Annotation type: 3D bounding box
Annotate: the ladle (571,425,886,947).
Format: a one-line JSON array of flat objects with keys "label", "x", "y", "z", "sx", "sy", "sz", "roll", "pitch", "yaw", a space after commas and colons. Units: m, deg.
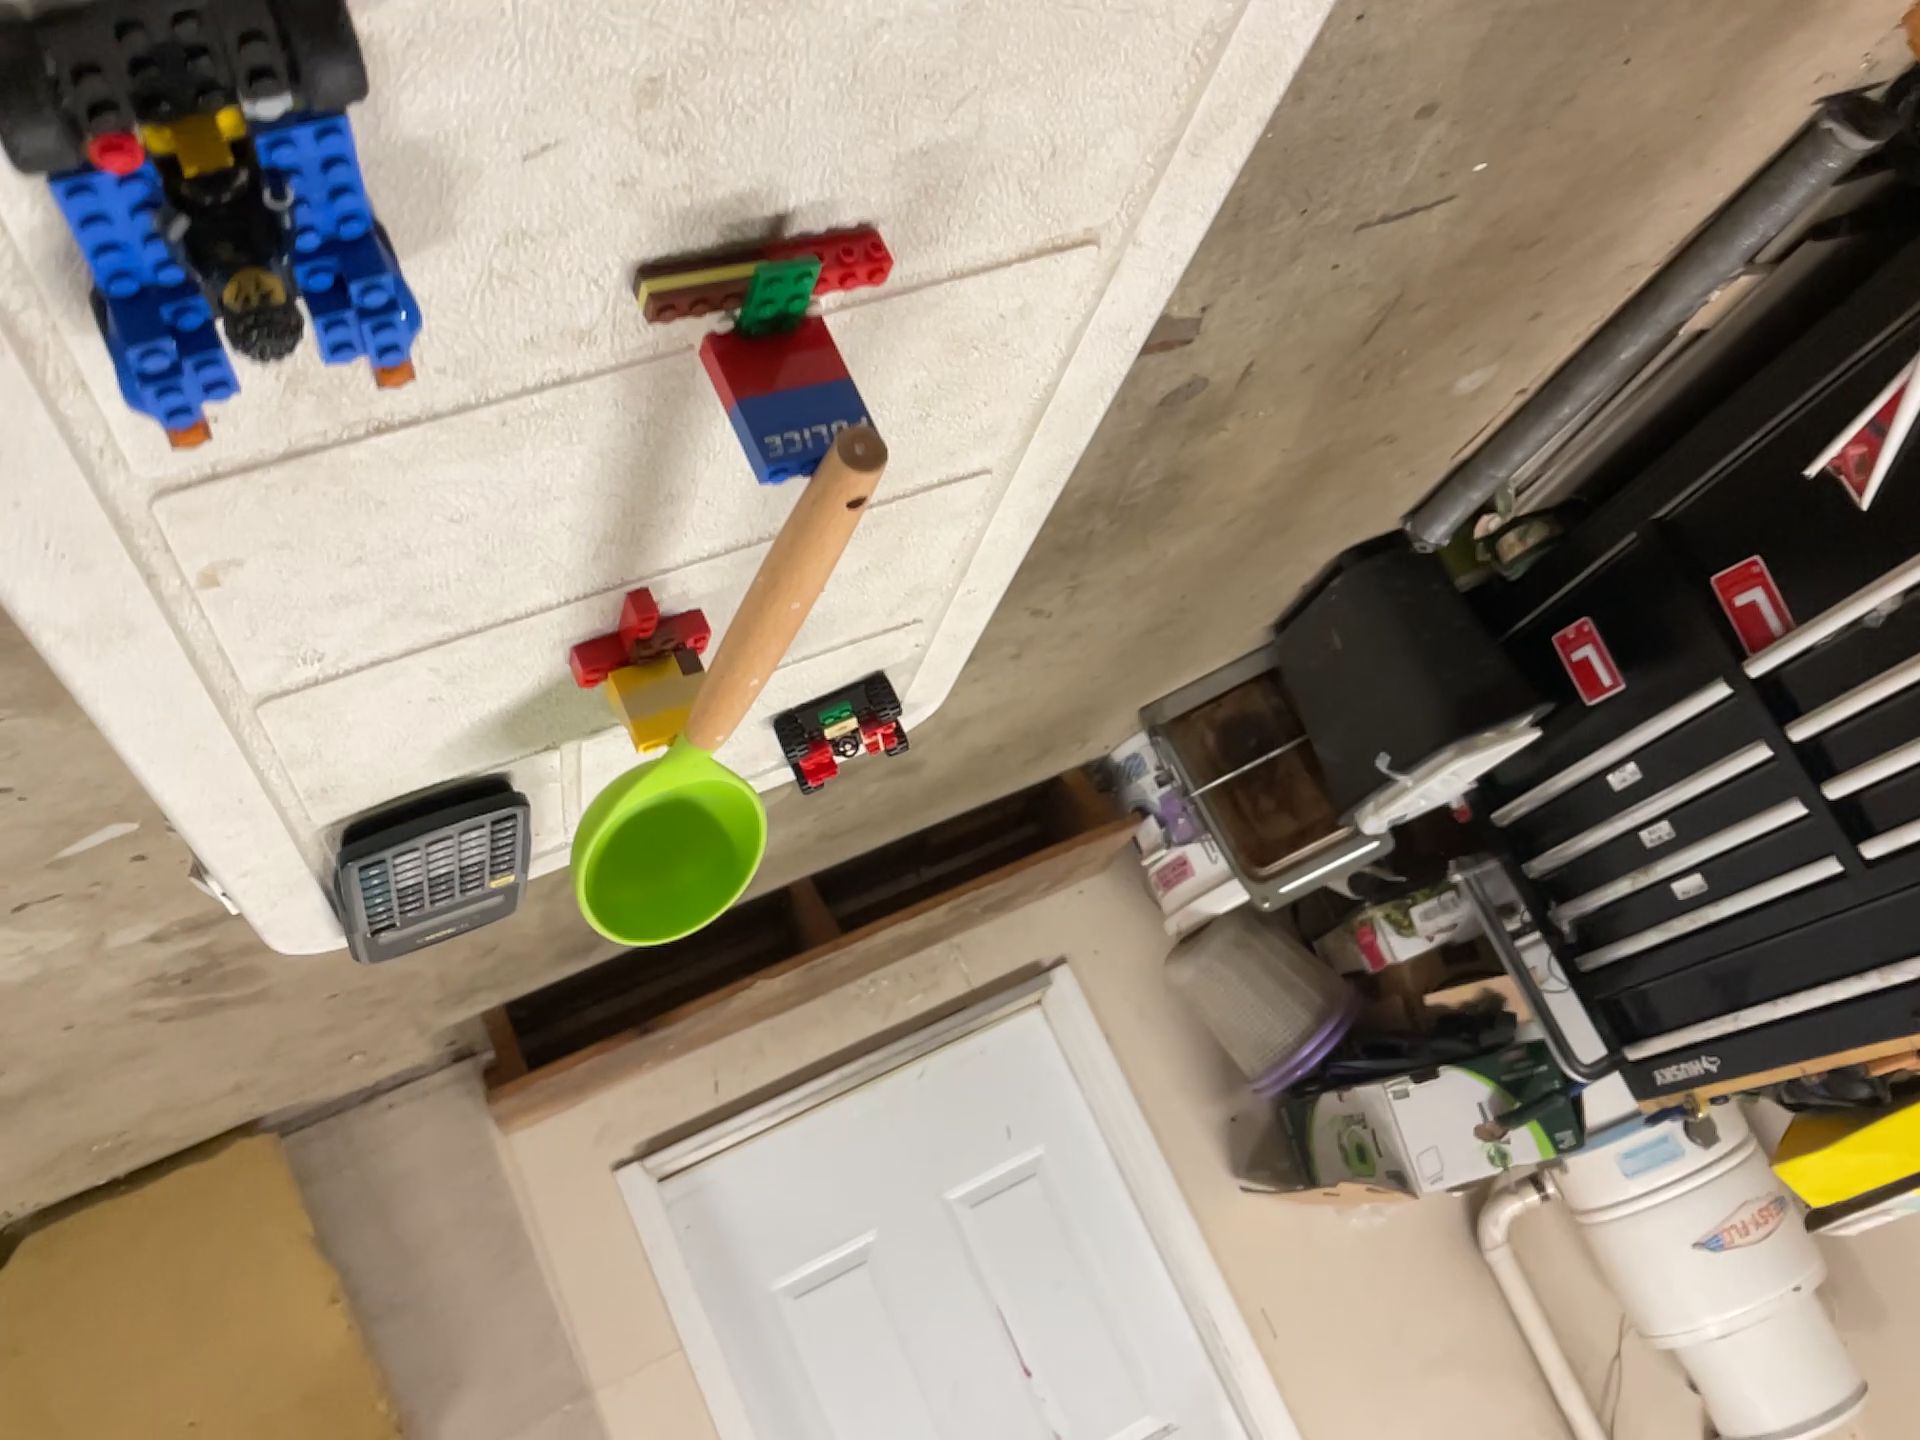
[{"label": "ladle", "x": -0.072, "y": 0.005, "z": 0.506, "sx": 0.078, "sy": 0.062, "sz": 0.320, "roll": -18, "pitch": 166, "yaw": -26}]
